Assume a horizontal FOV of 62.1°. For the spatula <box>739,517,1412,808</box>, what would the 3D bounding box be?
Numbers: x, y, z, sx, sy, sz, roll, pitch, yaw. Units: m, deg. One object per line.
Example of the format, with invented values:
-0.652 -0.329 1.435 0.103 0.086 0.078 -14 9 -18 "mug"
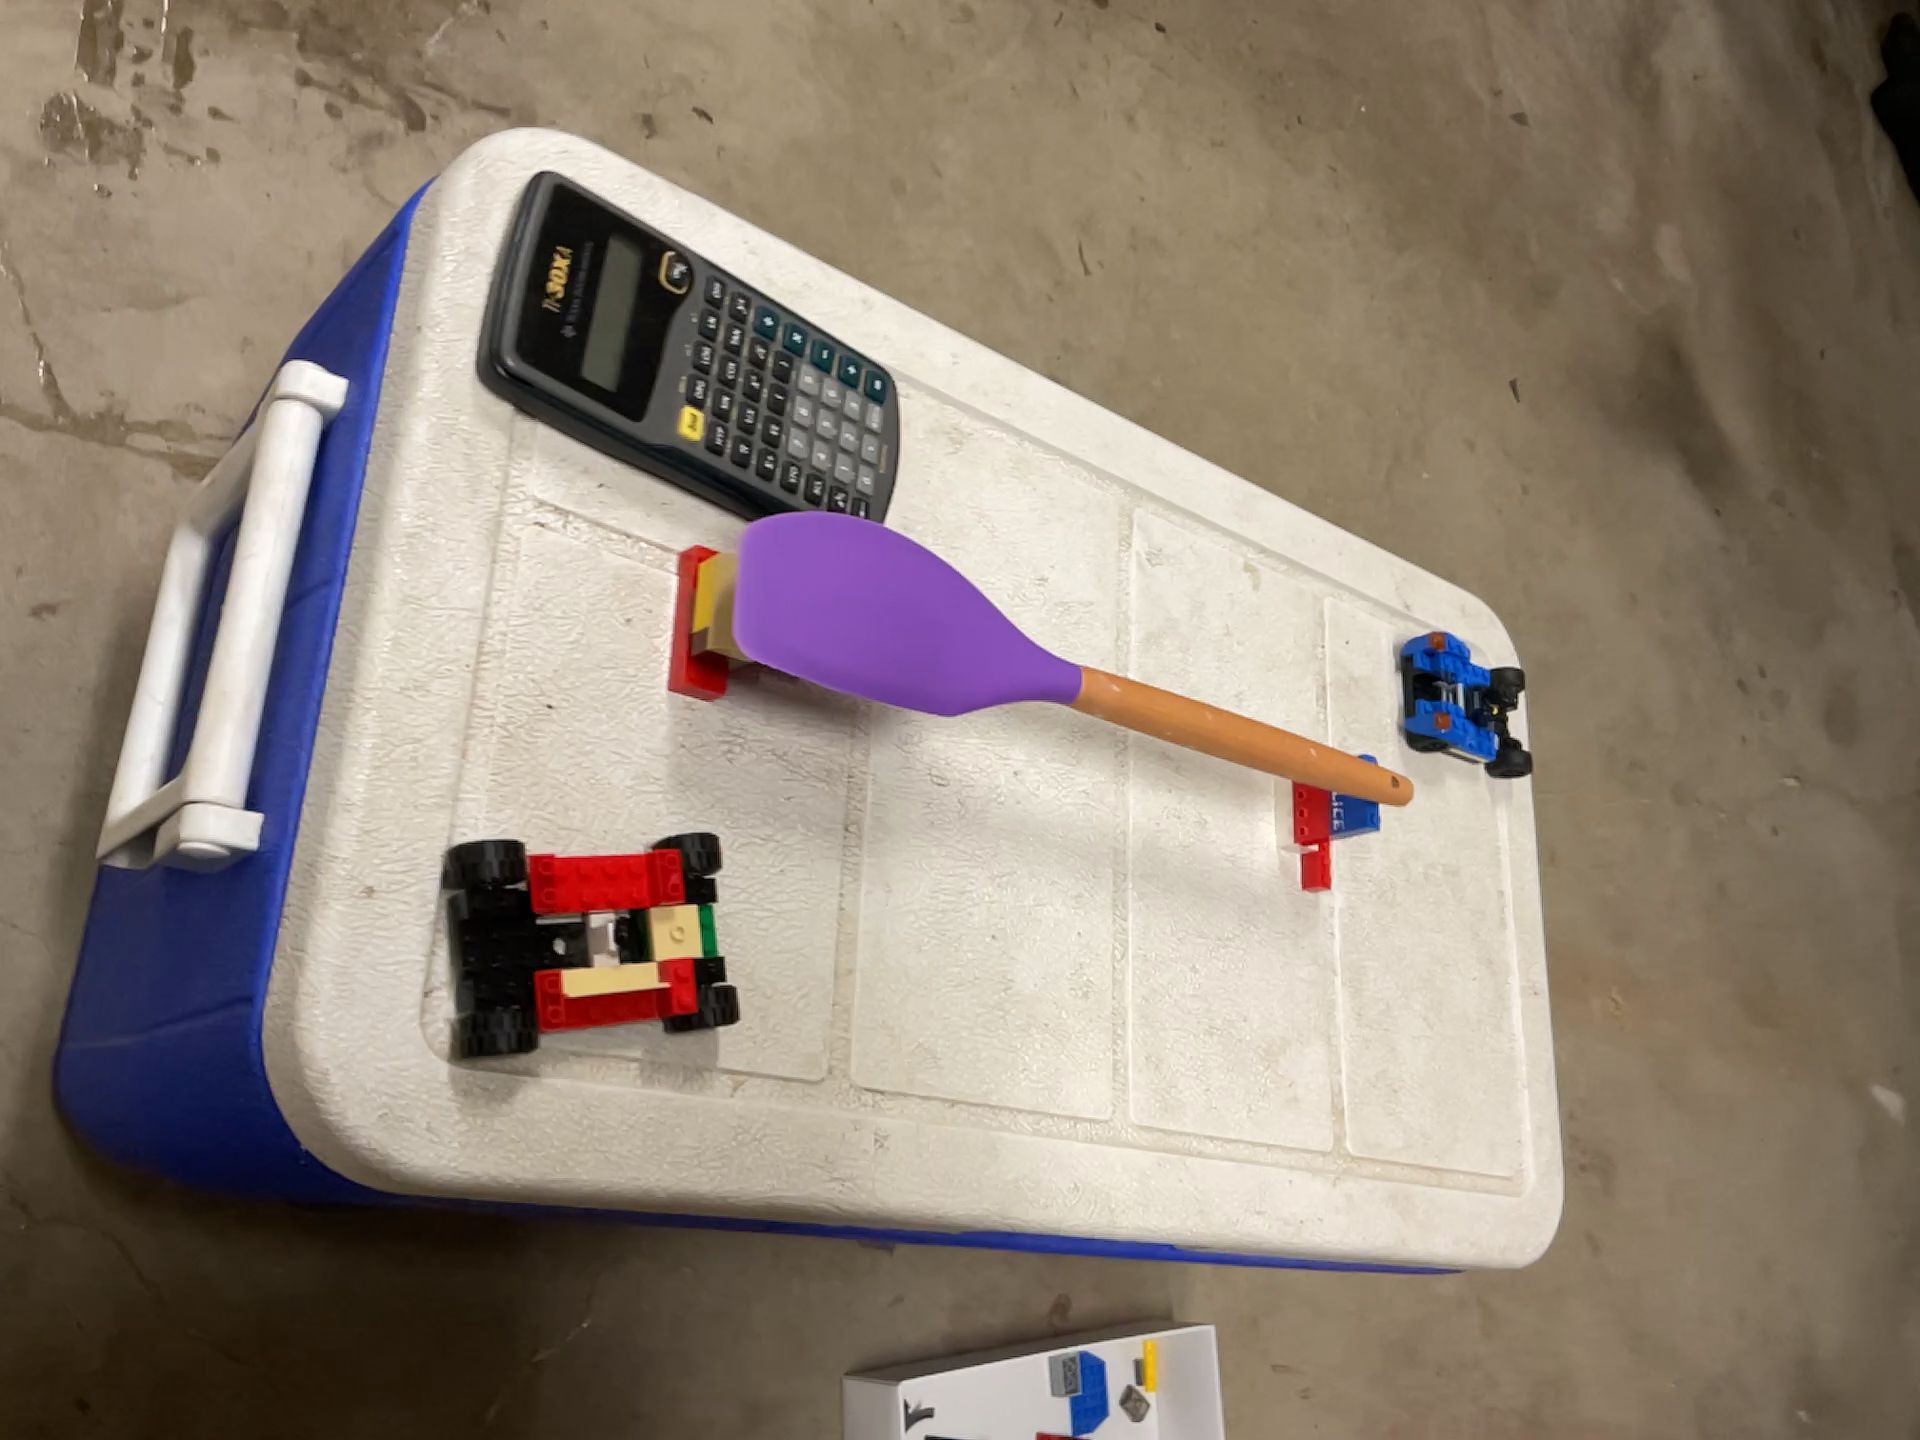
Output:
0.059 -0.008 0.566 0.316 0.018 0.060 17 67 -36 "spatula"
